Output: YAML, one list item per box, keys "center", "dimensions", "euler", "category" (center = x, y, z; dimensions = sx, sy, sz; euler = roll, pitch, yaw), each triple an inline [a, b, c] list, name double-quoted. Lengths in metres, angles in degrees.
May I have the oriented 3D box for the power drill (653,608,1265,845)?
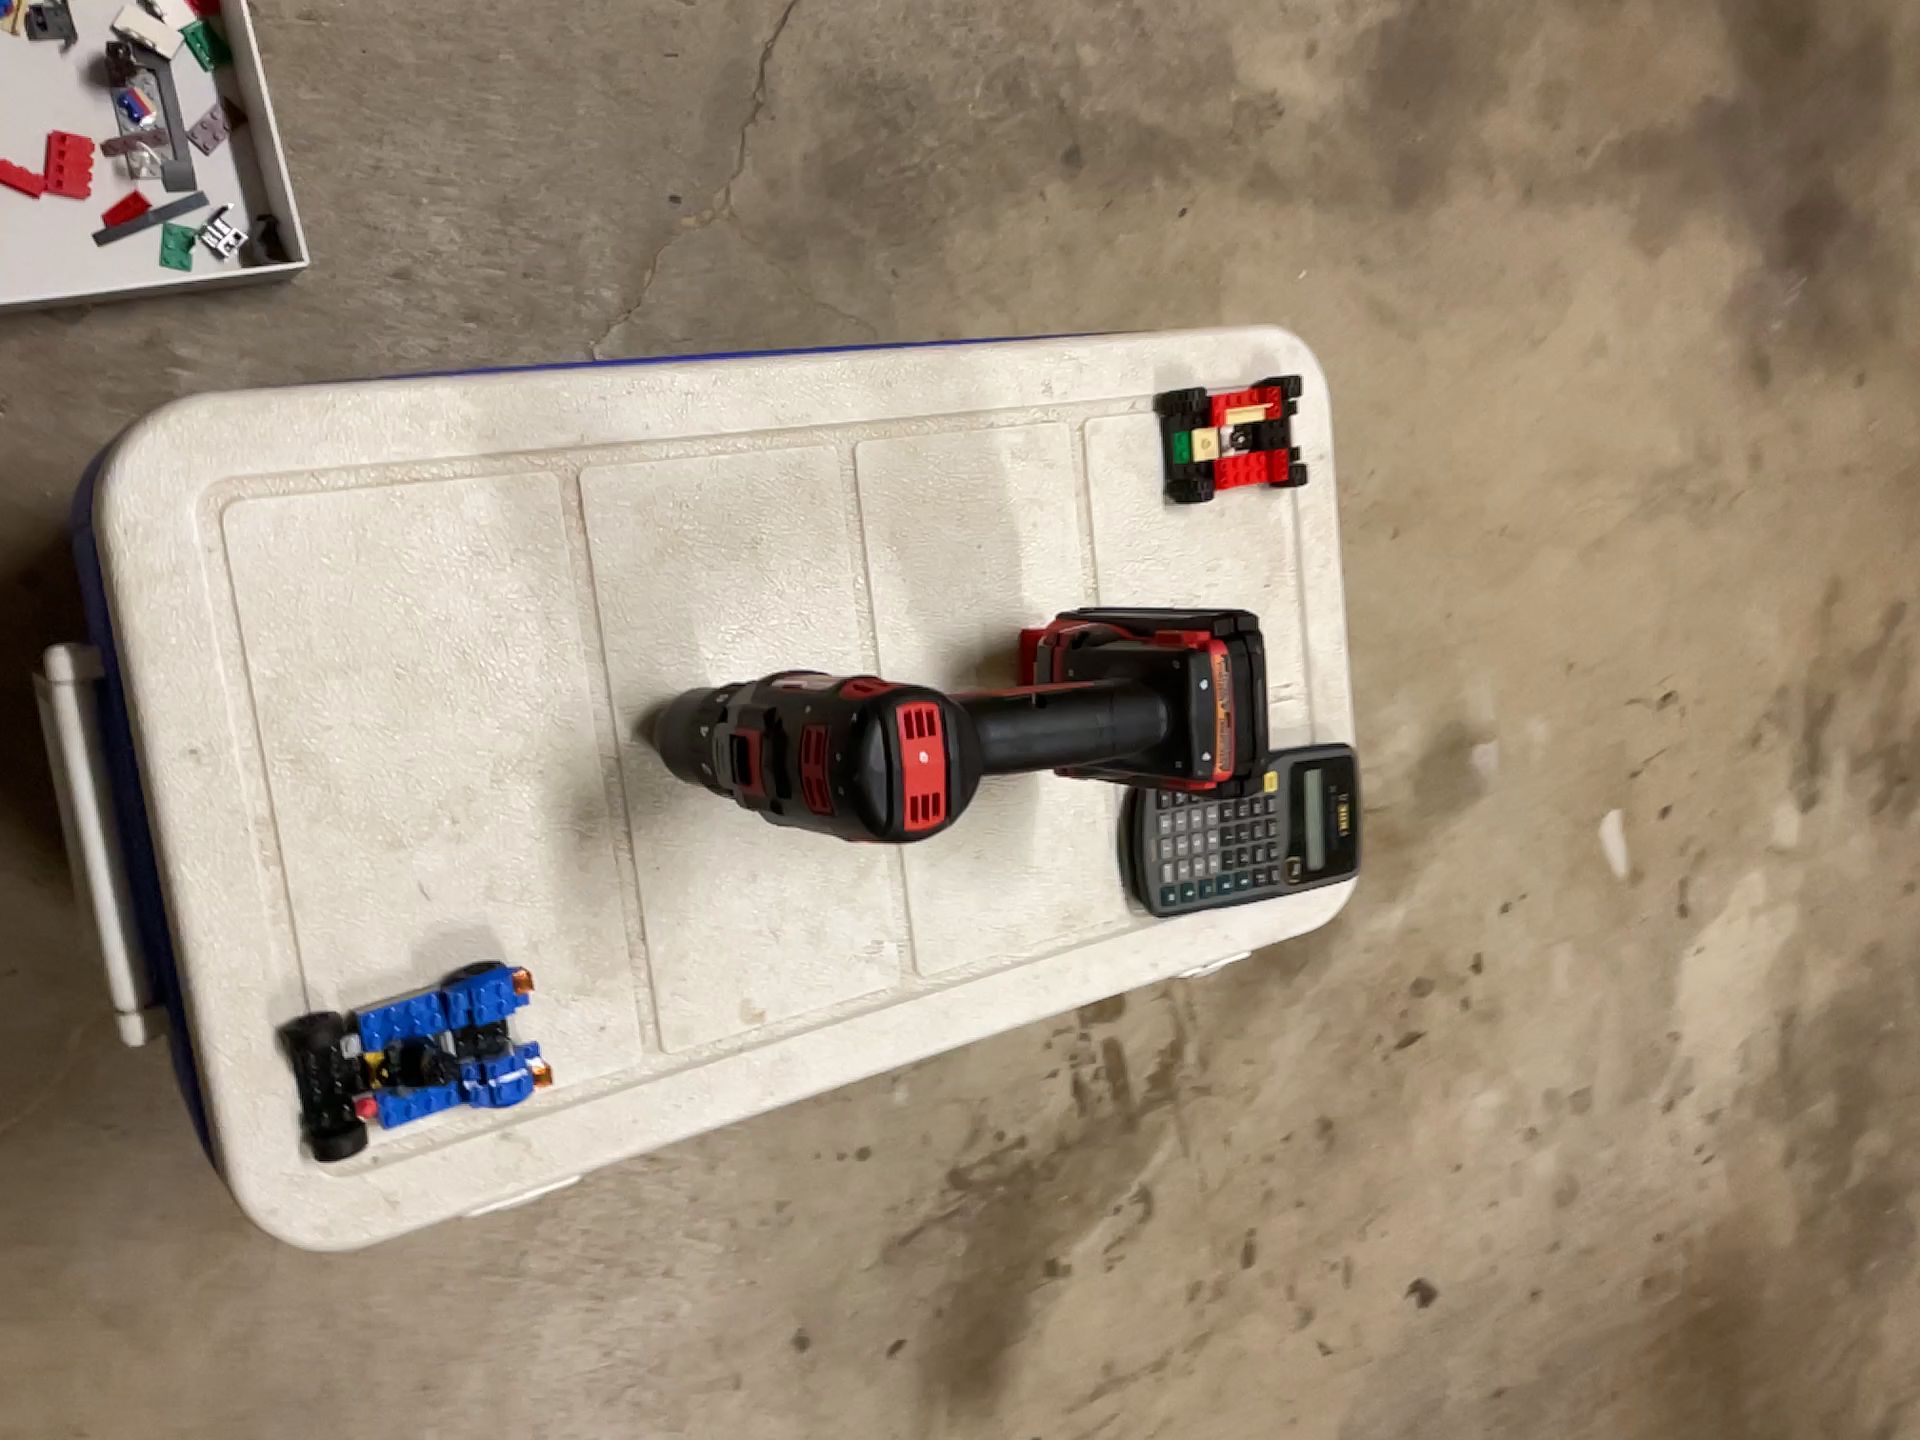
- center: [-0.004, 0.000, 0.675]
  dimensions: [0.227, 0.188, 0.080]
  euler: [-8, 100, -36]
  category: "power drill"
